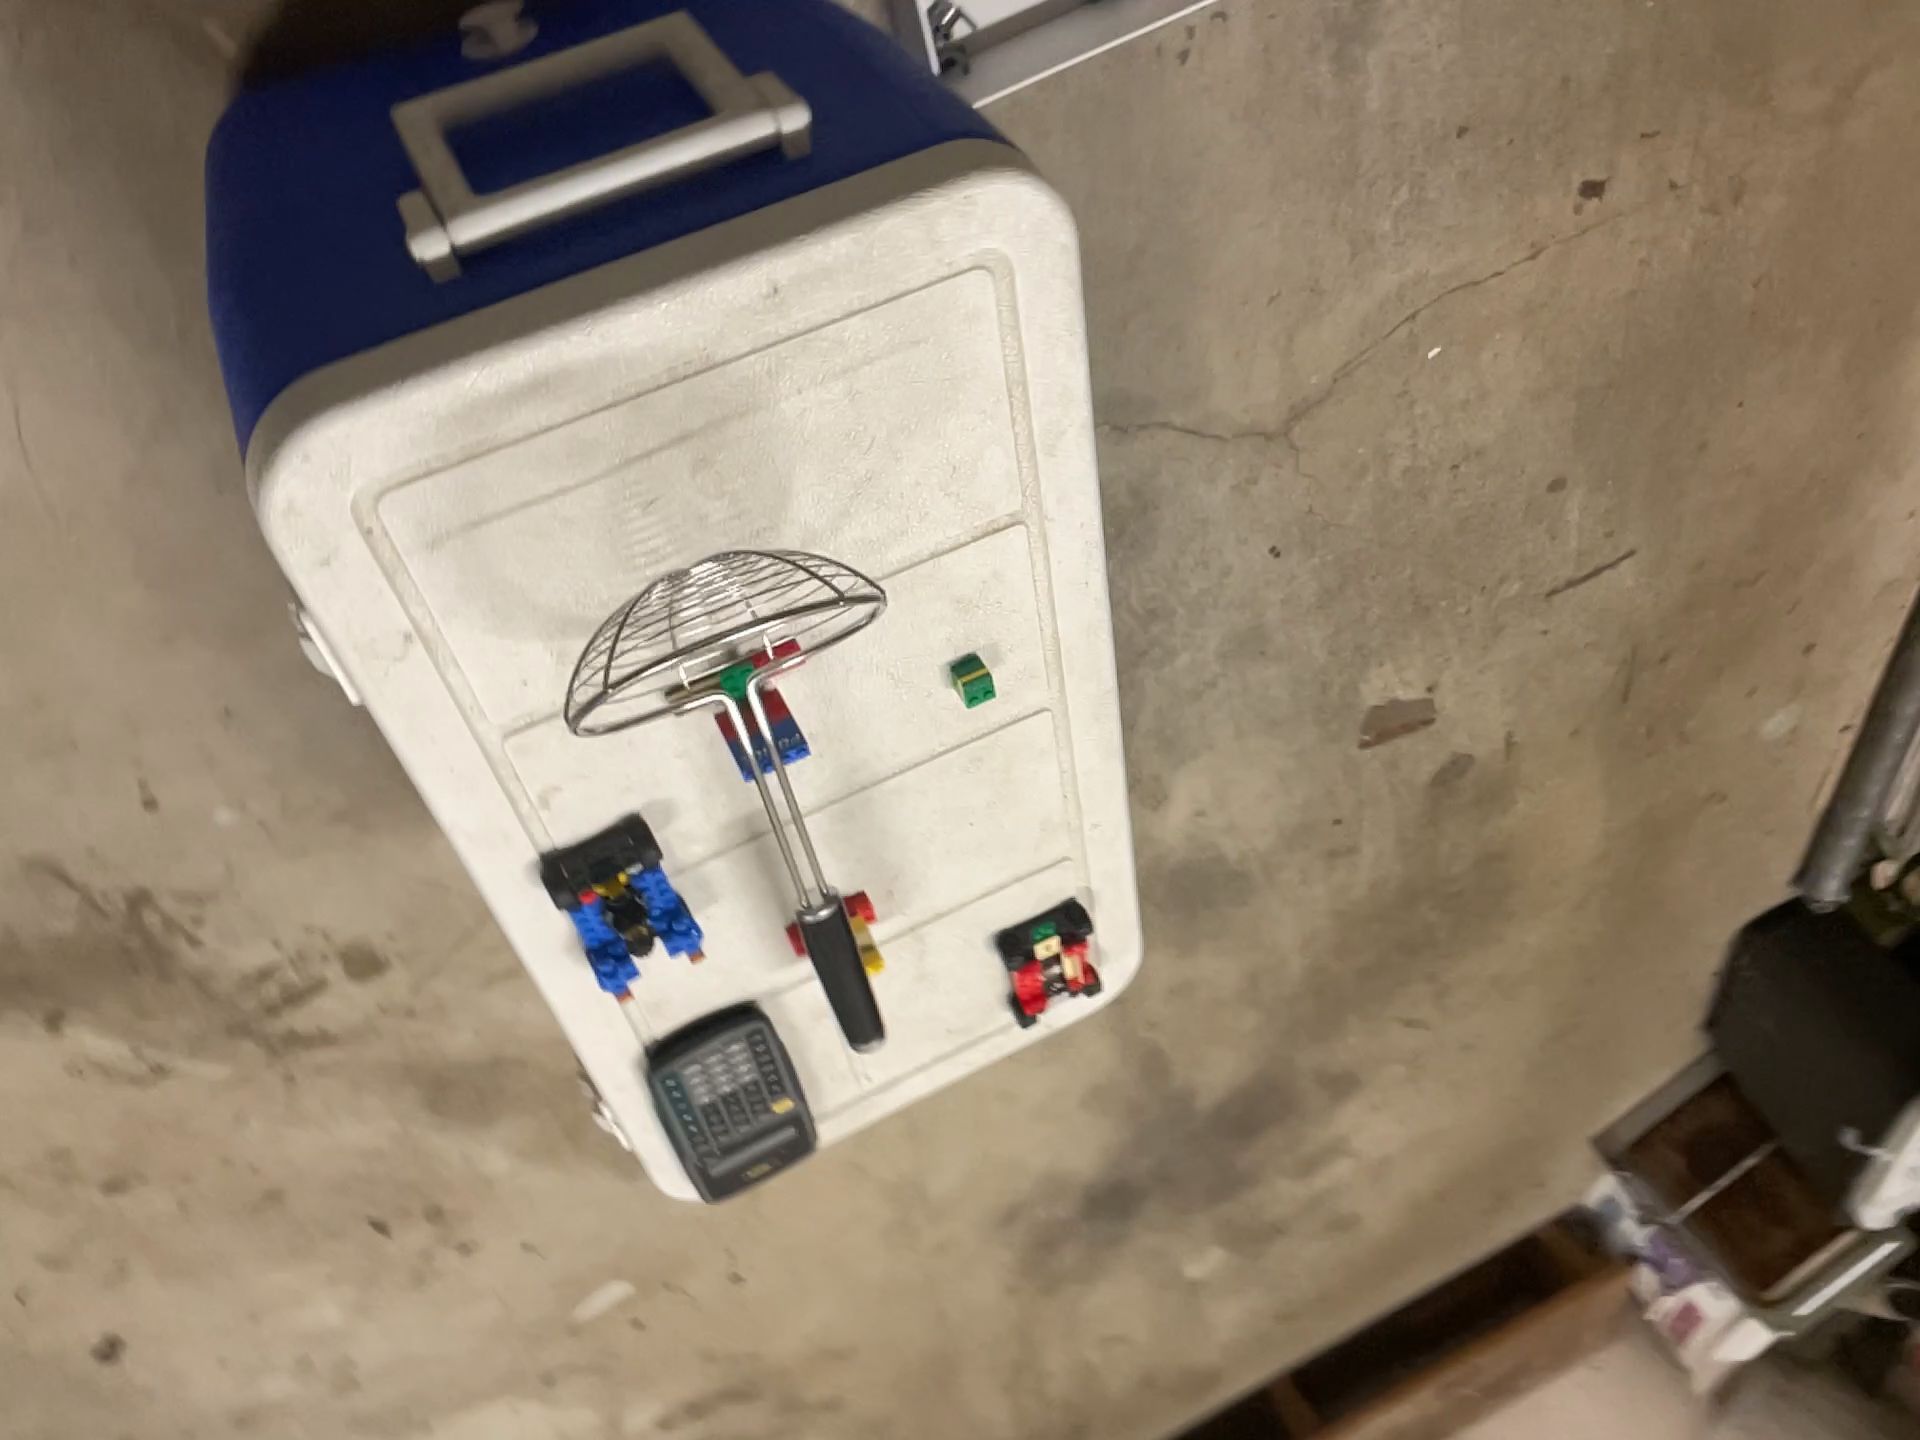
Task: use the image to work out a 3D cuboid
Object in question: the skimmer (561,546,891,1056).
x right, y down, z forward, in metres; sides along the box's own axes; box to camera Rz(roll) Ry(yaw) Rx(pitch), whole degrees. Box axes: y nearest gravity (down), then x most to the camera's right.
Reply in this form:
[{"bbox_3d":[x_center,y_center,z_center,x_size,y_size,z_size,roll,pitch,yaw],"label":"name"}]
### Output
[{"bbox_3d":[-0.066,0.064,0.681,0.127,0.090,0.362,-23,137,-9],"label":"skimmer"}]
